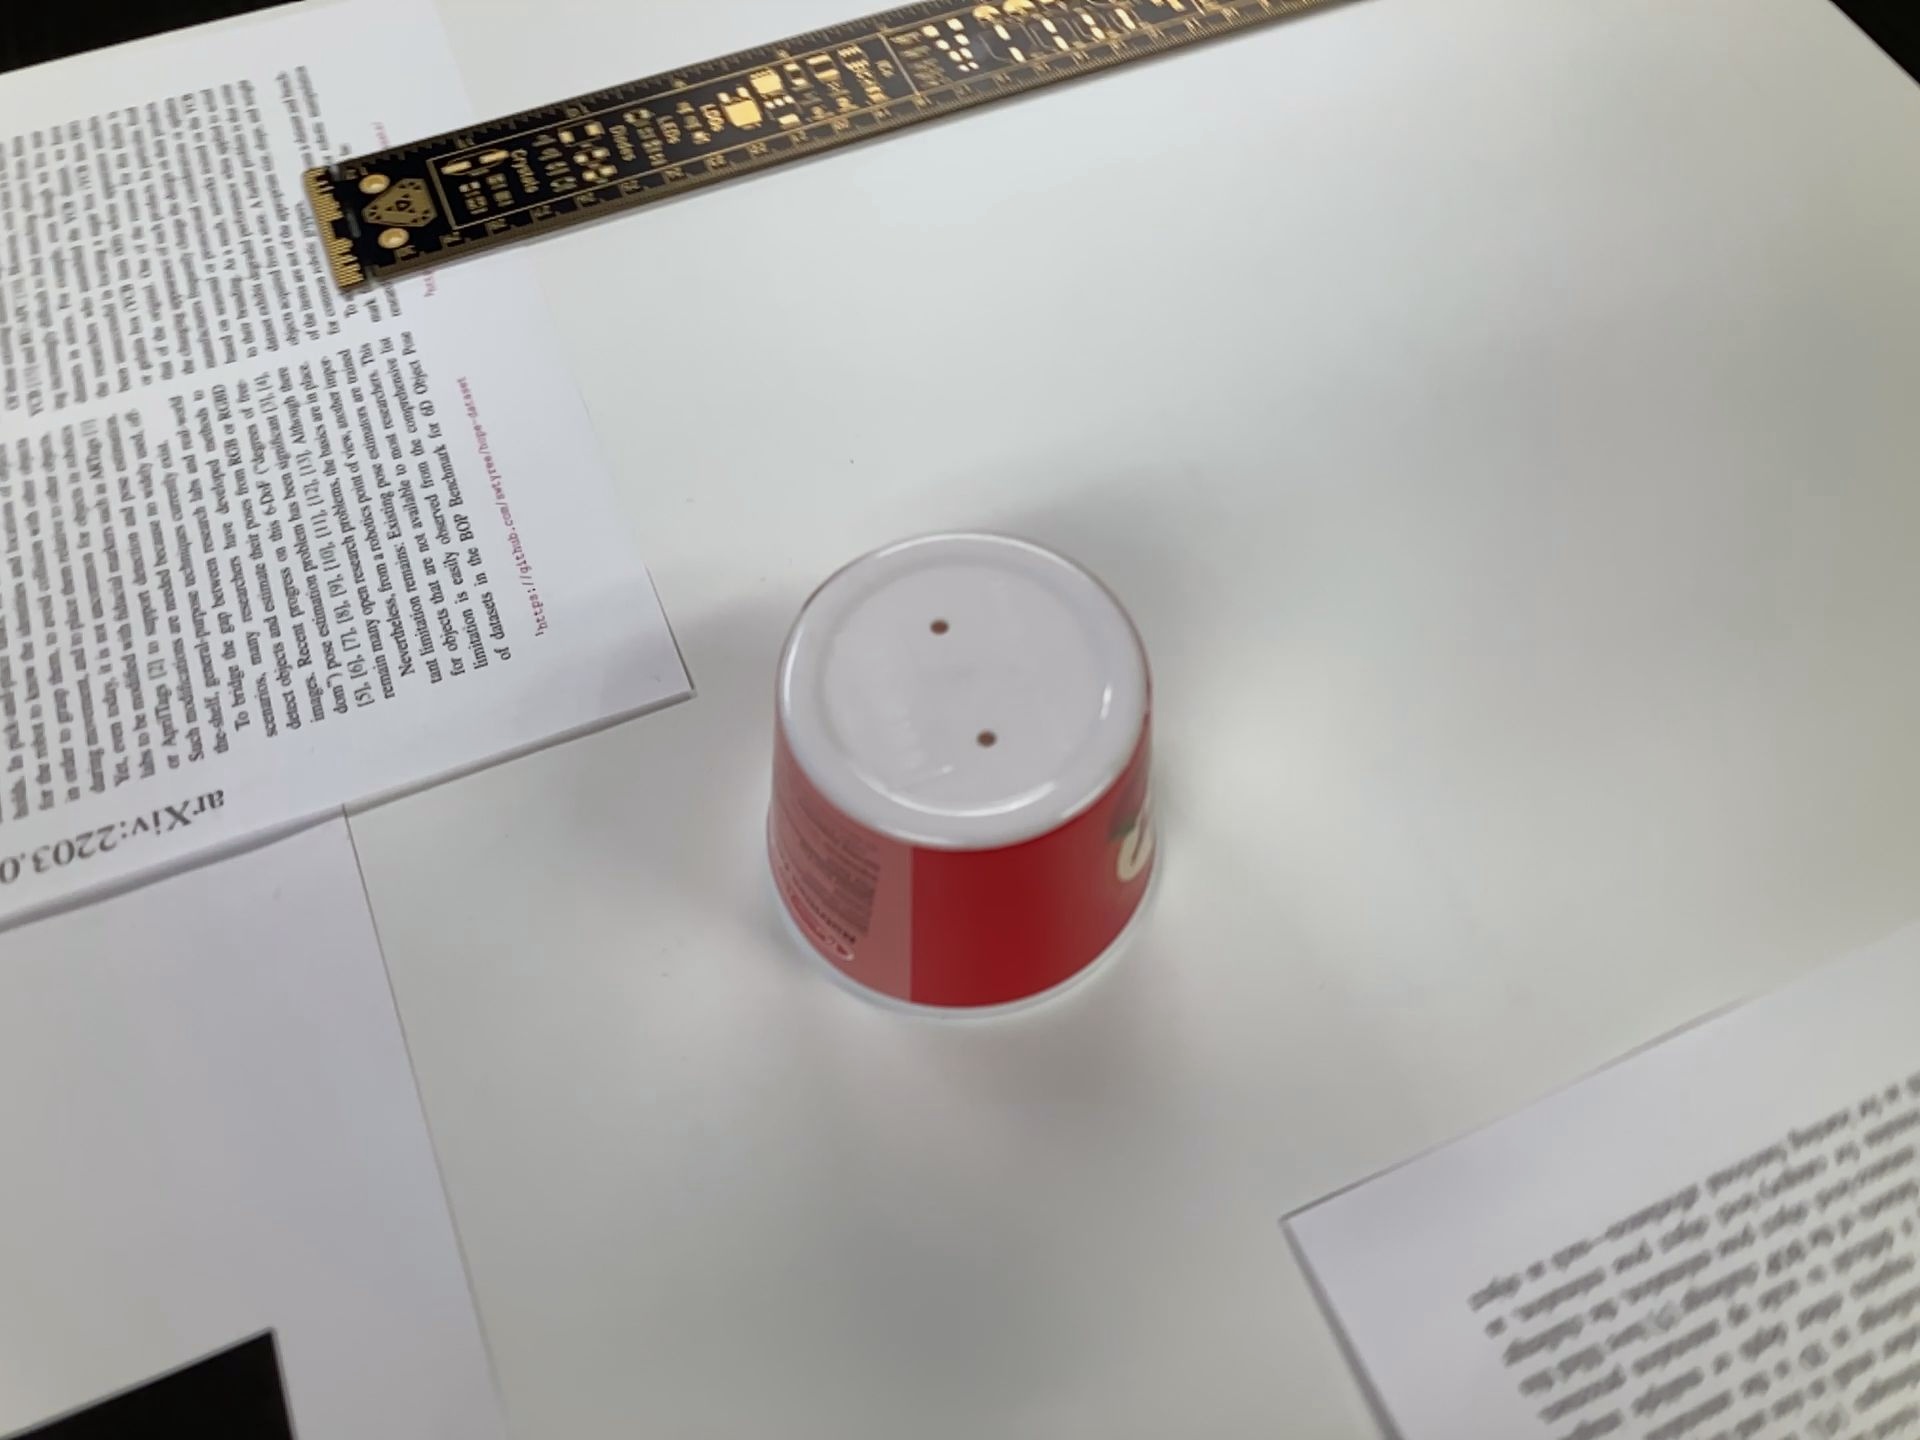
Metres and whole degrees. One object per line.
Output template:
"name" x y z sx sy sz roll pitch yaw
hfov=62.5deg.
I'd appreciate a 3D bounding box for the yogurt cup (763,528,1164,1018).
"yogurt cup" 0.000 0.007 0.250 0.072 0.054 0.072 0 61 0
